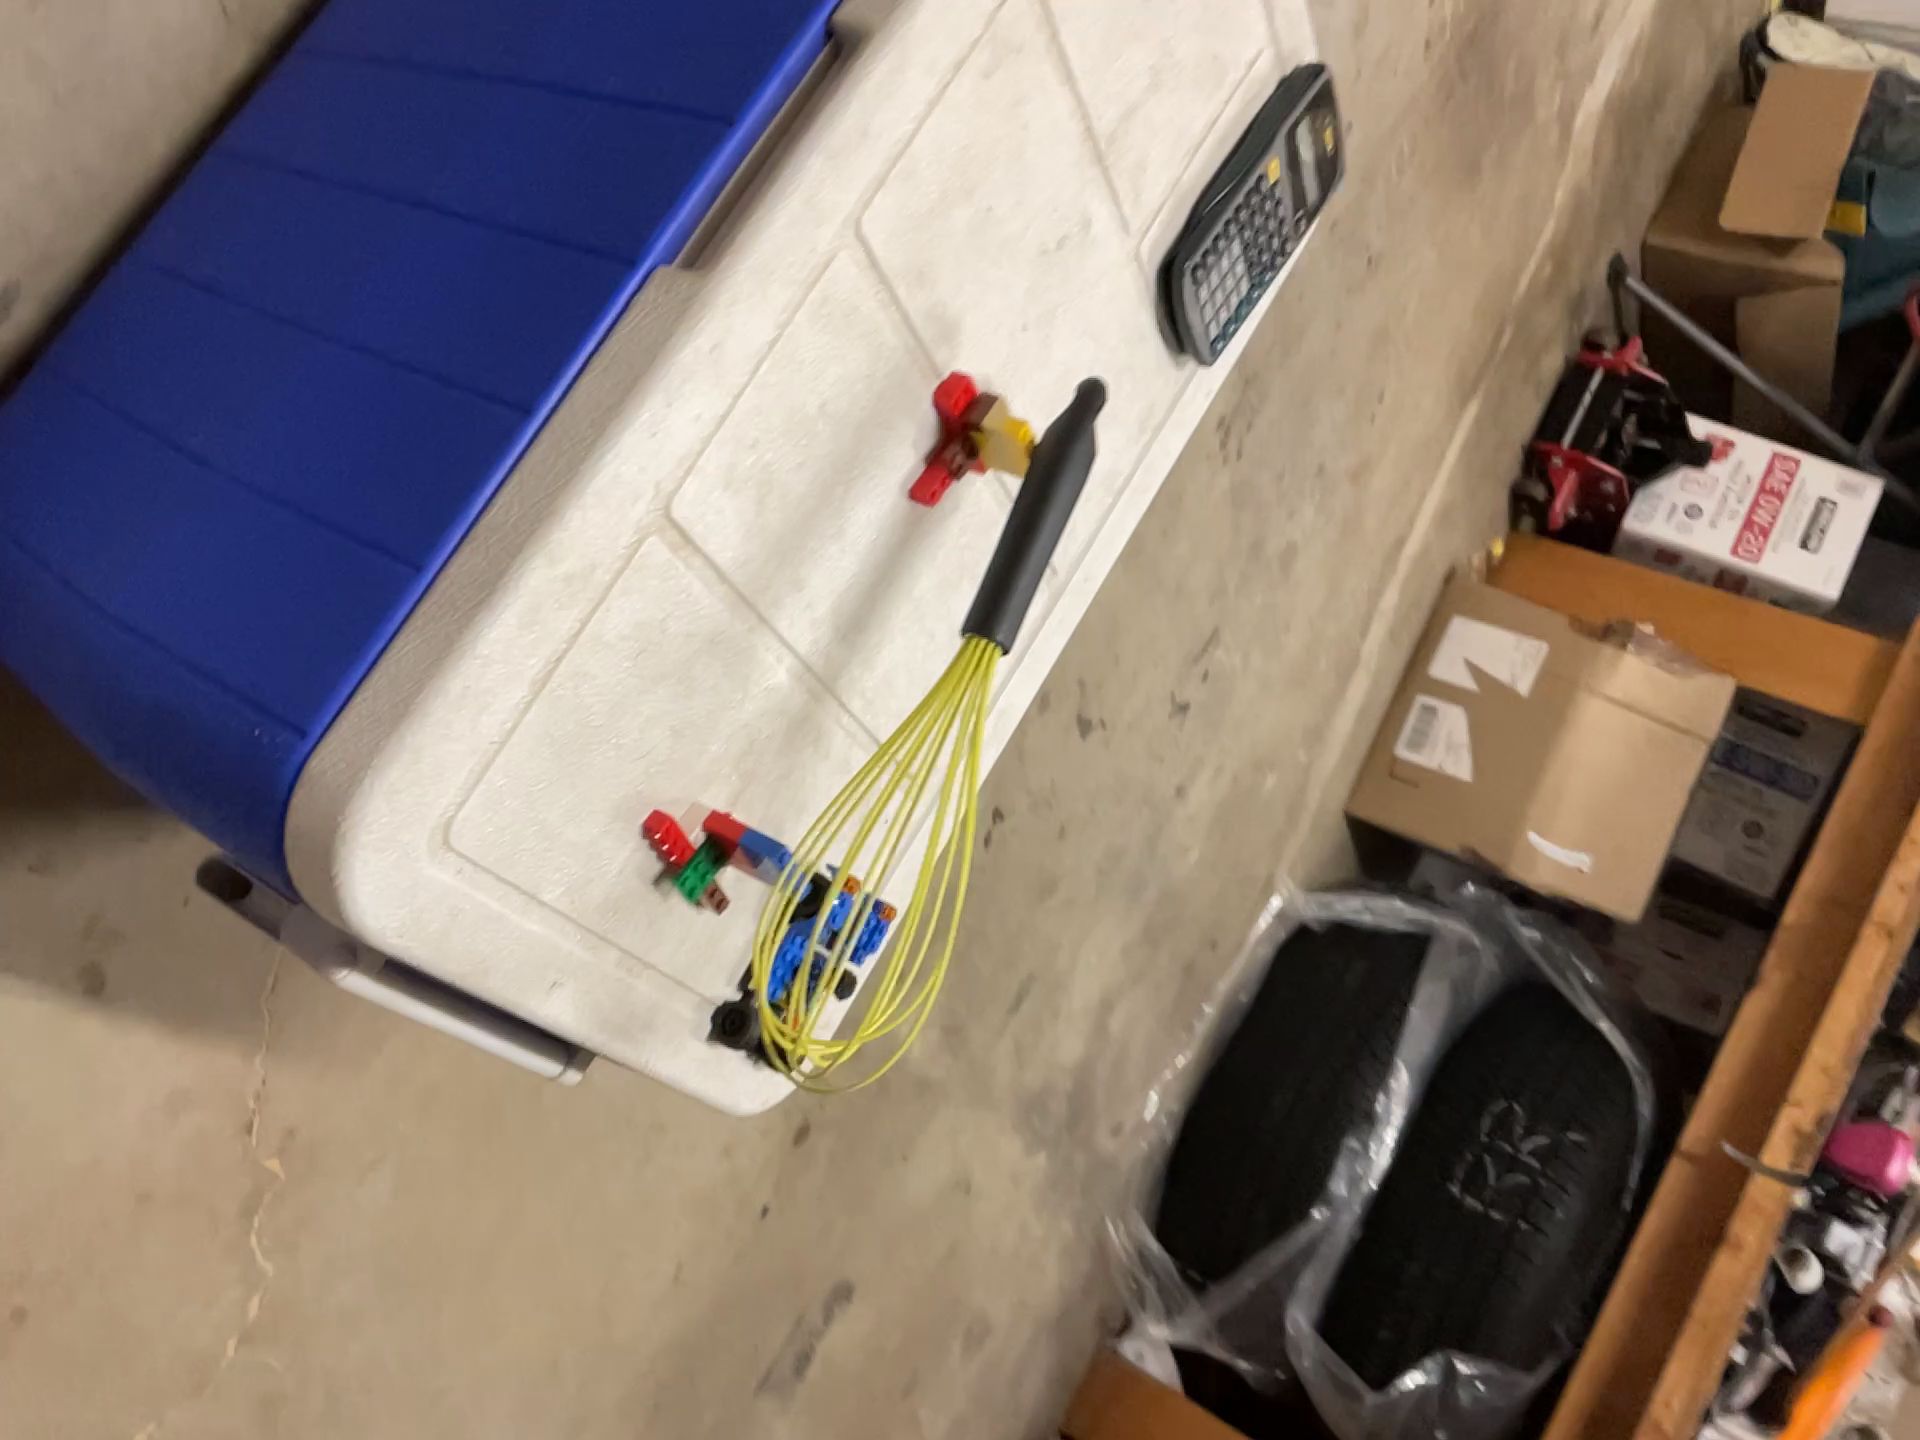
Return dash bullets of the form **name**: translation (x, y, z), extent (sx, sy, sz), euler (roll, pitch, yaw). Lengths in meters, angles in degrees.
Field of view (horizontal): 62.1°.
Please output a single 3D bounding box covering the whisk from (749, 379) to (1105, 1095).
- **whisk**: translation (-0.004, -0.005, 0.627), extent (0.312, 0.067, 0.080), euler (-67, -163, -15)
